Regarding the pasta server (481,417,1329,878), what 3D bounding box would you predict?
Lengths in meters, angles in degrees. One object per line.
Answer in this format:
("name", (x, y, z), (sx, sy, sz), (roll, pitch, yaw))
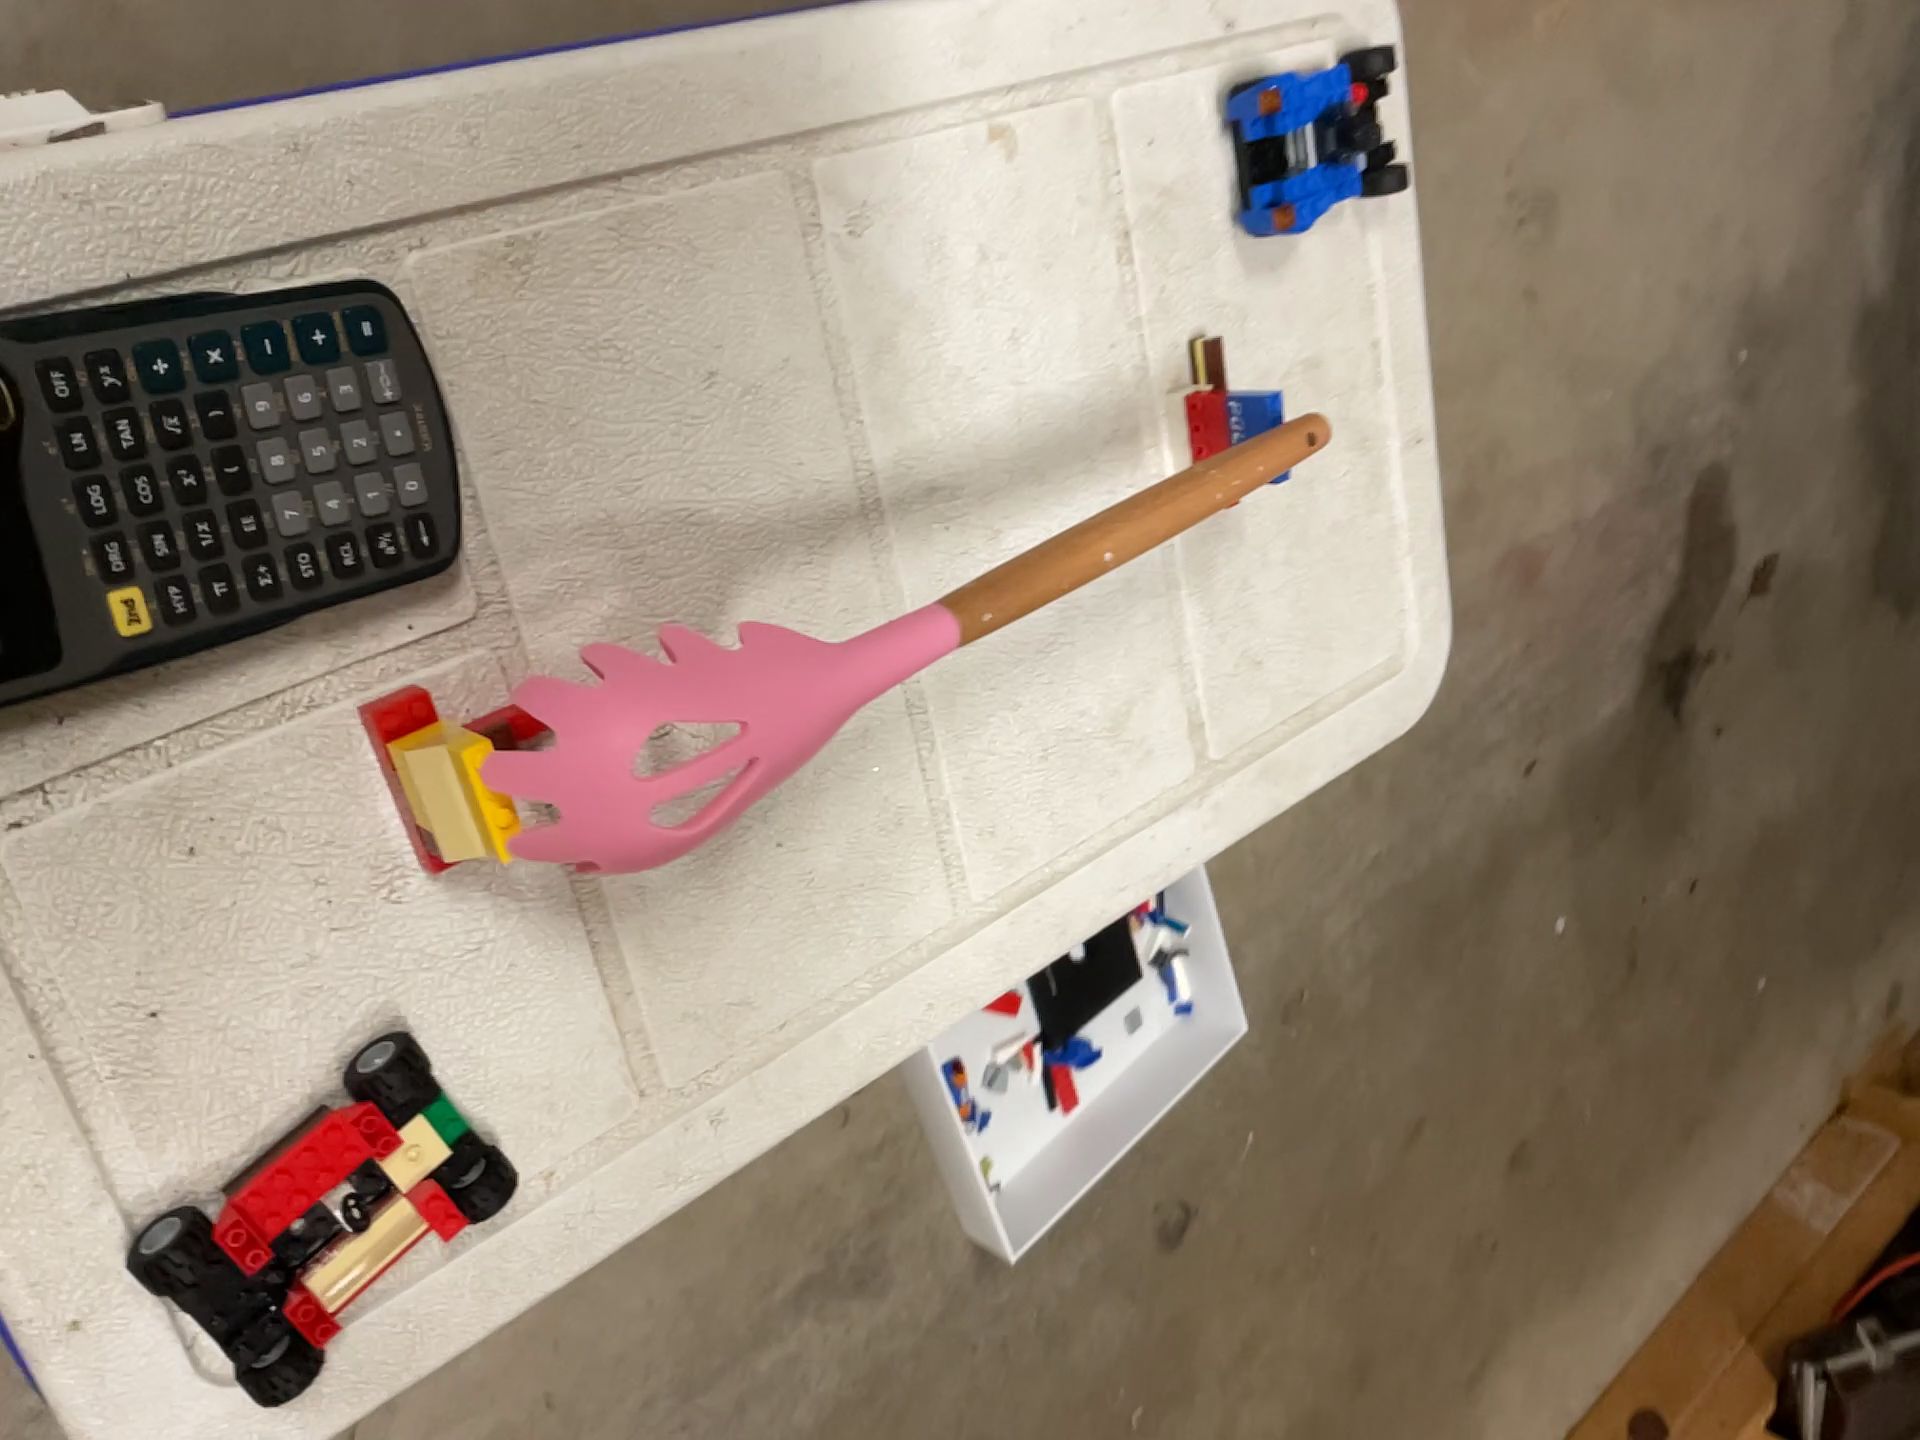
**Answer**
("pasta server", (0.008, -0.038, 0.474), (0.316, 0.040, 0.060), (-30, 116, -36))
